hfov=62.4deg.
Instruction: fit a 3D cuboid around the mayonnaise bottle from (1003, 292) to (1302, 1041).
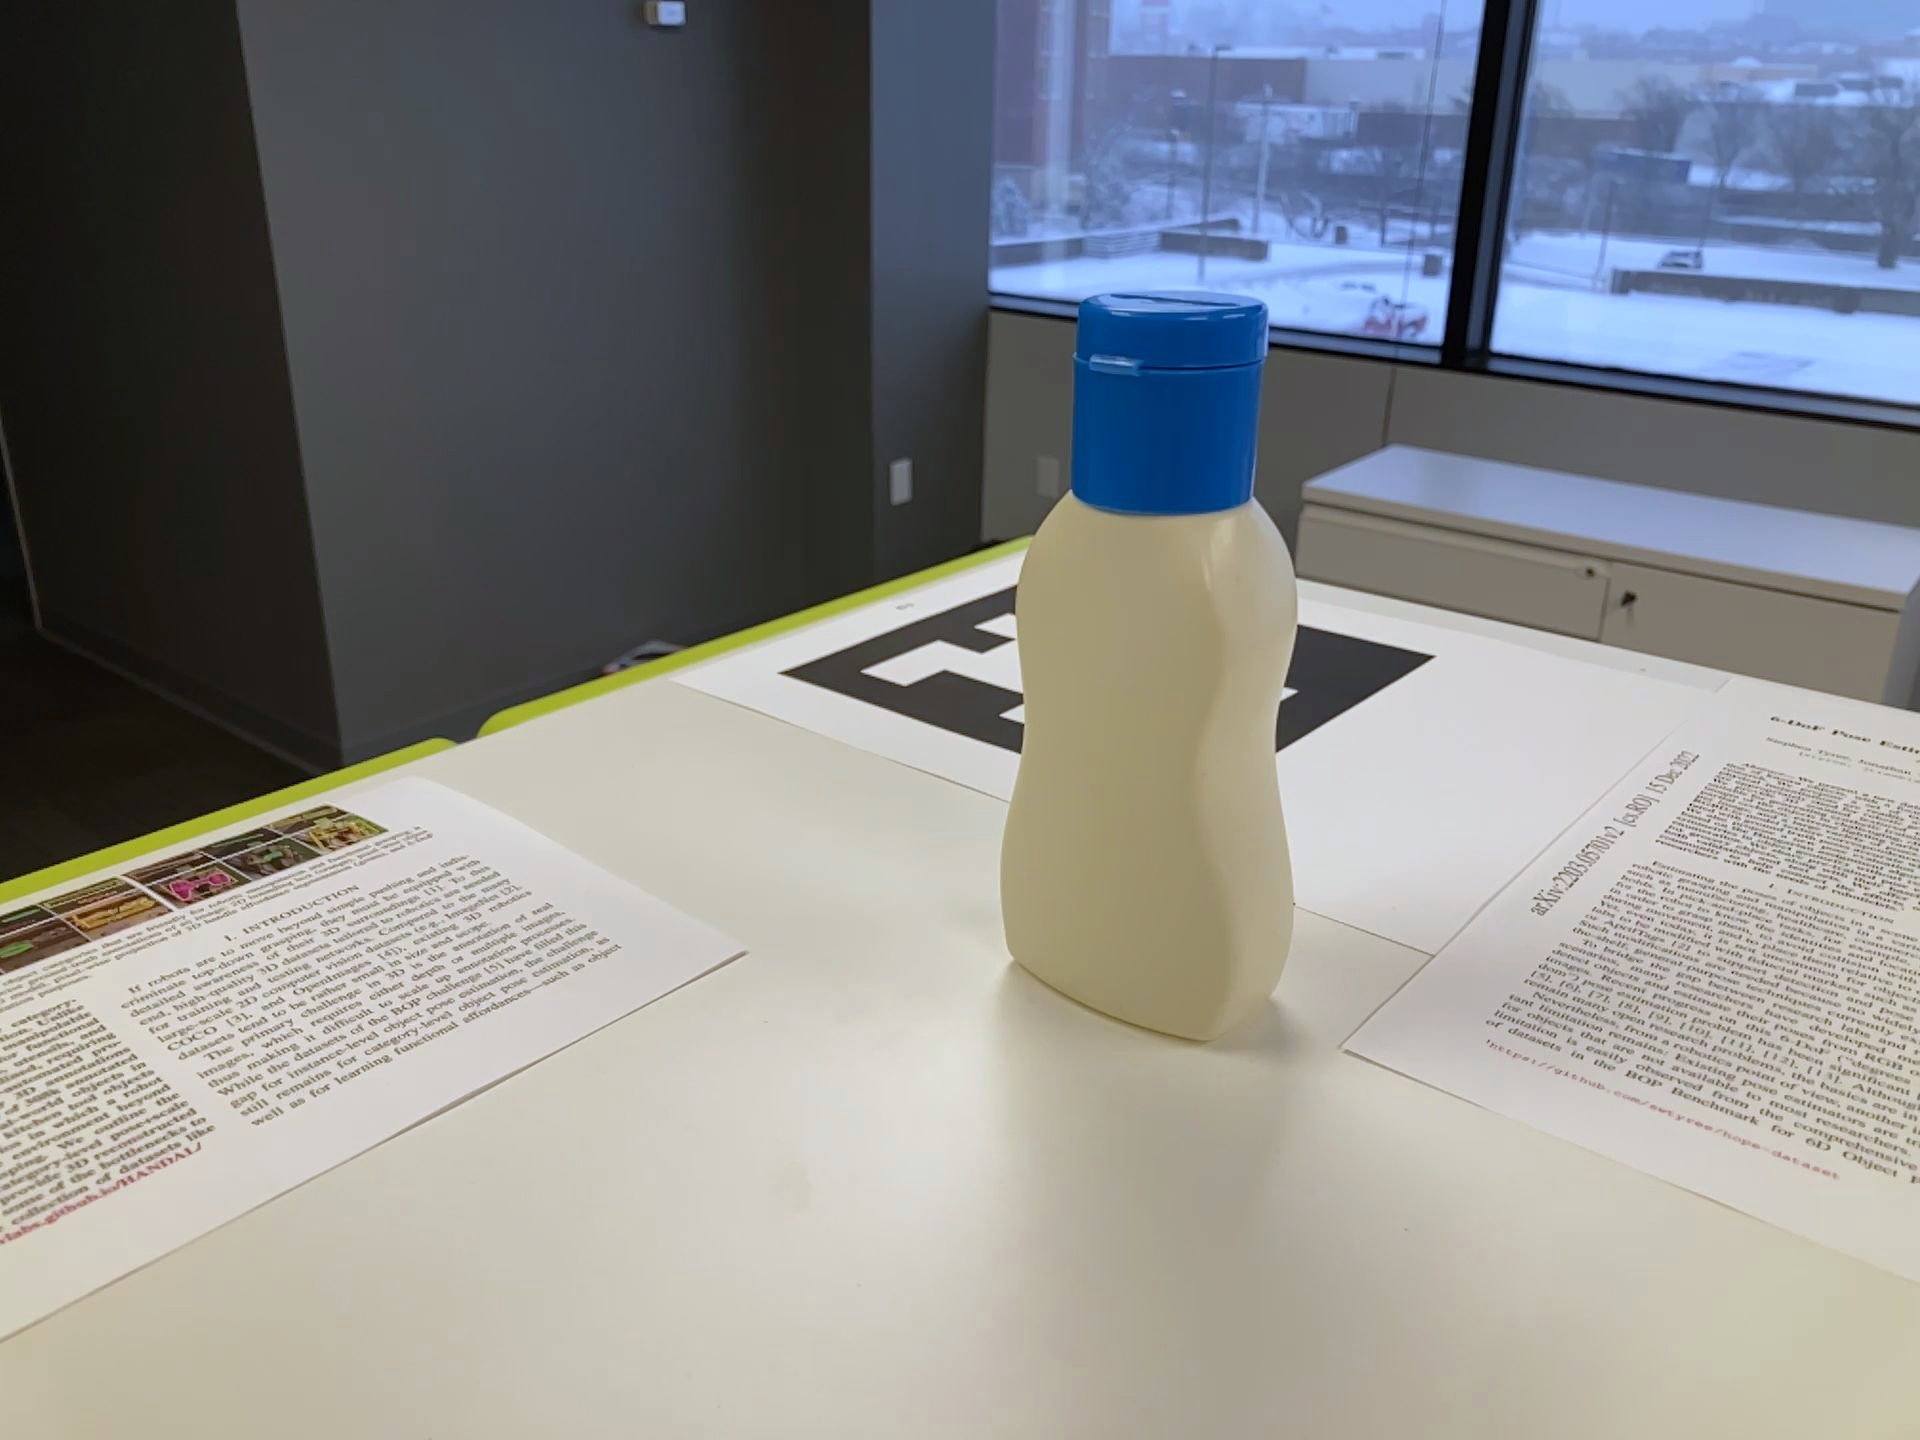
[{"bbox_3d":[0.041,-0.011,0.327,0.065,0.148,0.041,17,26,37],"label":"mayonnaise bottle"}]
